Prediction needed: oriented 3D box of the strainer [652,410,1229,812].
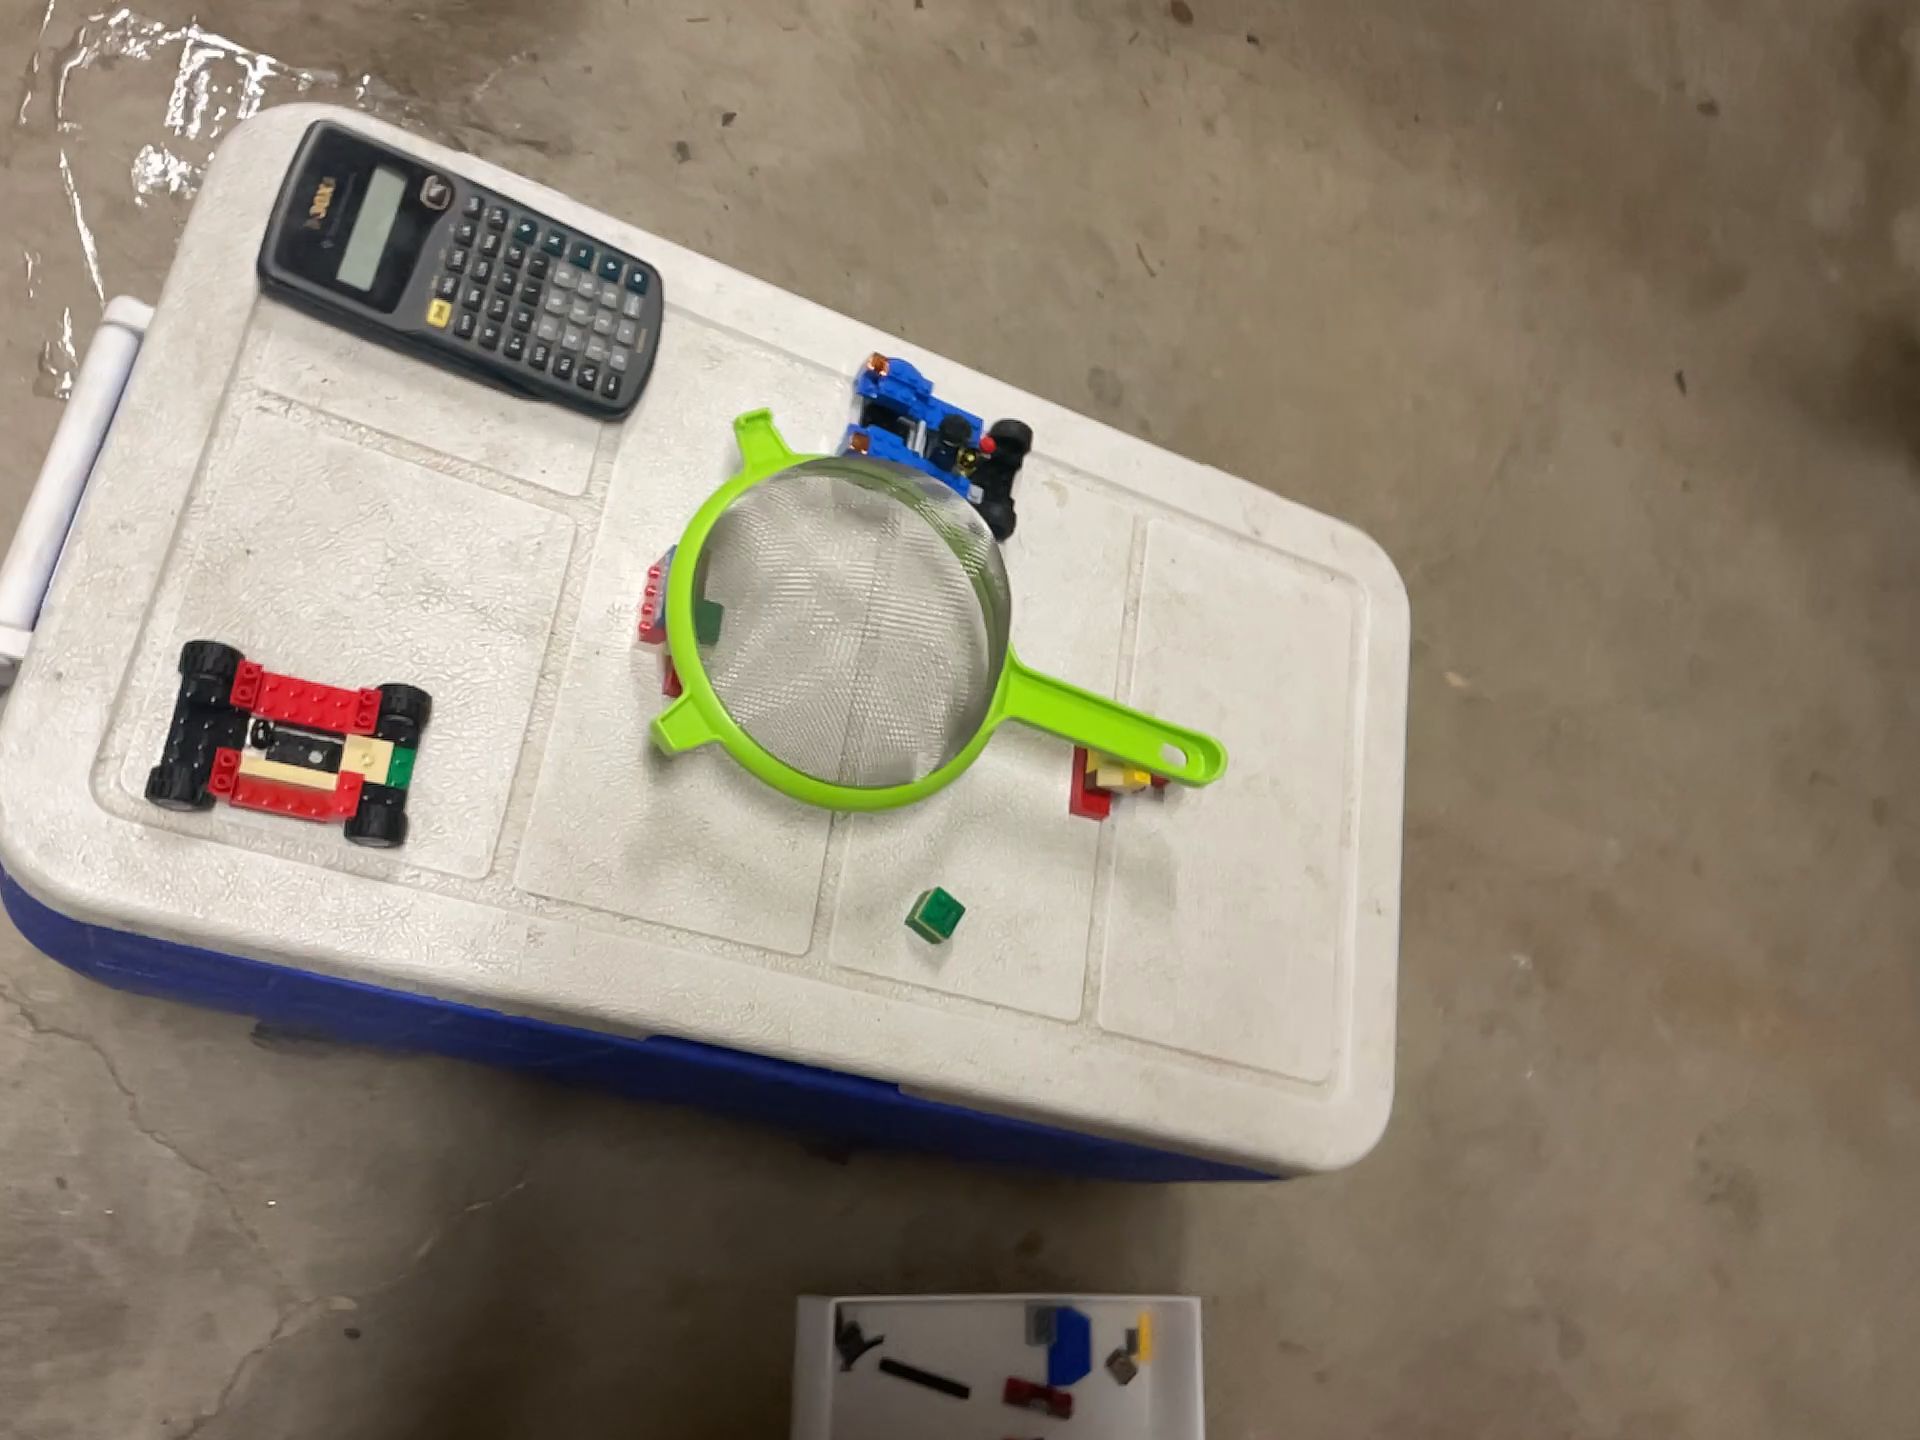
[{"bbox_3d":[0.013,-0.028,0.644,0.256,0.069,0.152,20,65,-21],"label":"strainer"}]
